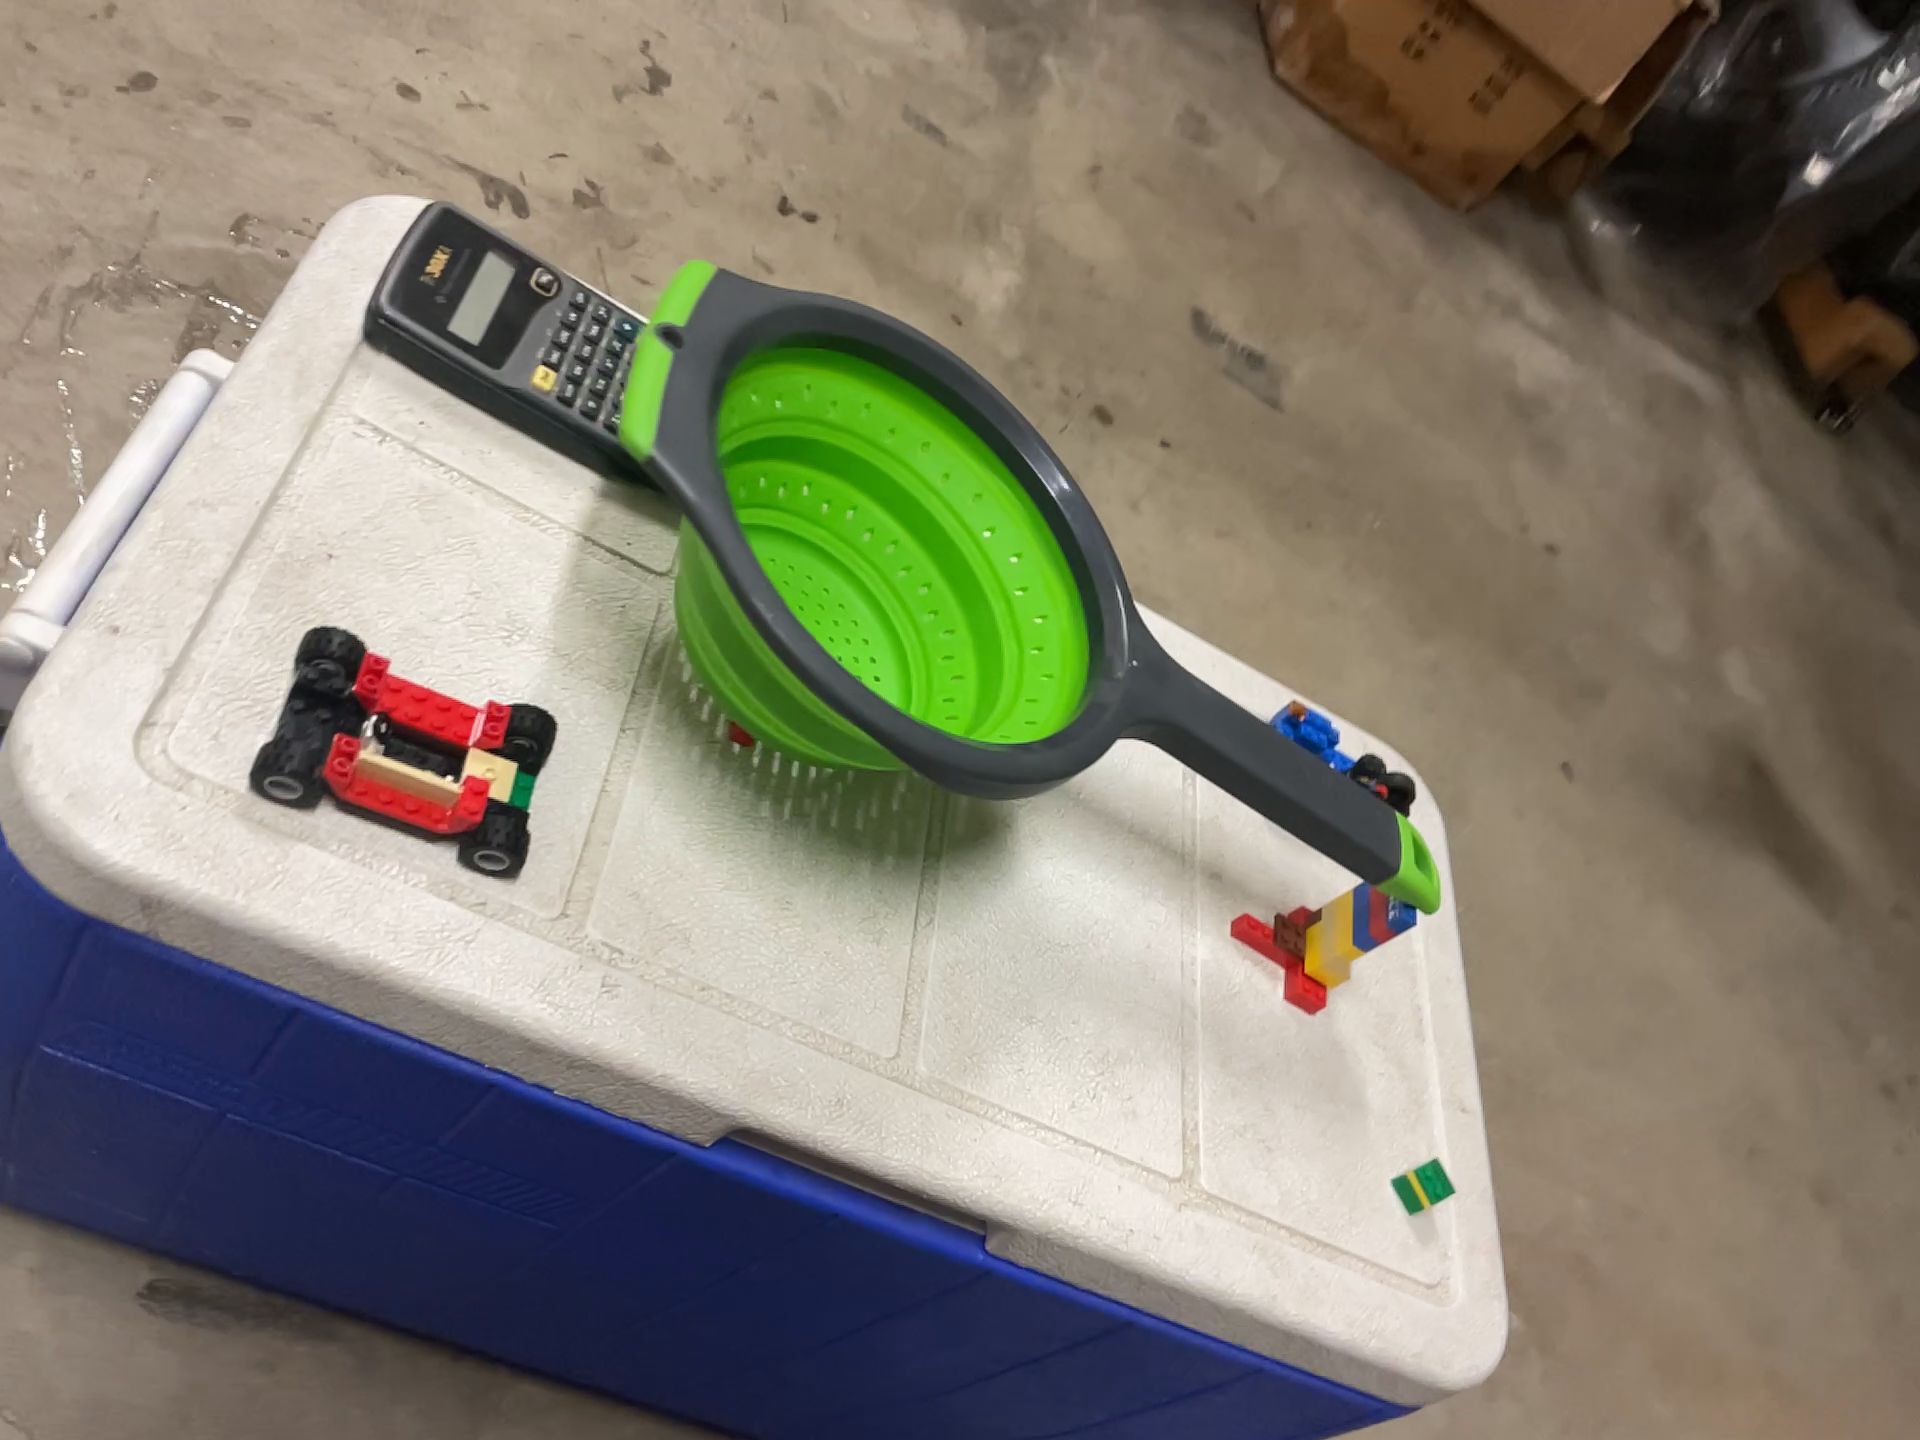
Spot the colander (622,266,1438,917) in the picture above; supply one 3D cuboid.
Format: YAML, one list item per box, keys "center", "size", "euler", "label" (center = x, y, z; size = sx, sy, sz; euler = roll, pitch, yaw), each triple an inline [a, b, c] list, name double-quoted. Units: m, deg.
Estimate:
- center: [0.027, -0.008, 0.622]
  size: [0.397, 0.094, 0.205]
  euler: [32, 41, -23]
  label: "colander"
